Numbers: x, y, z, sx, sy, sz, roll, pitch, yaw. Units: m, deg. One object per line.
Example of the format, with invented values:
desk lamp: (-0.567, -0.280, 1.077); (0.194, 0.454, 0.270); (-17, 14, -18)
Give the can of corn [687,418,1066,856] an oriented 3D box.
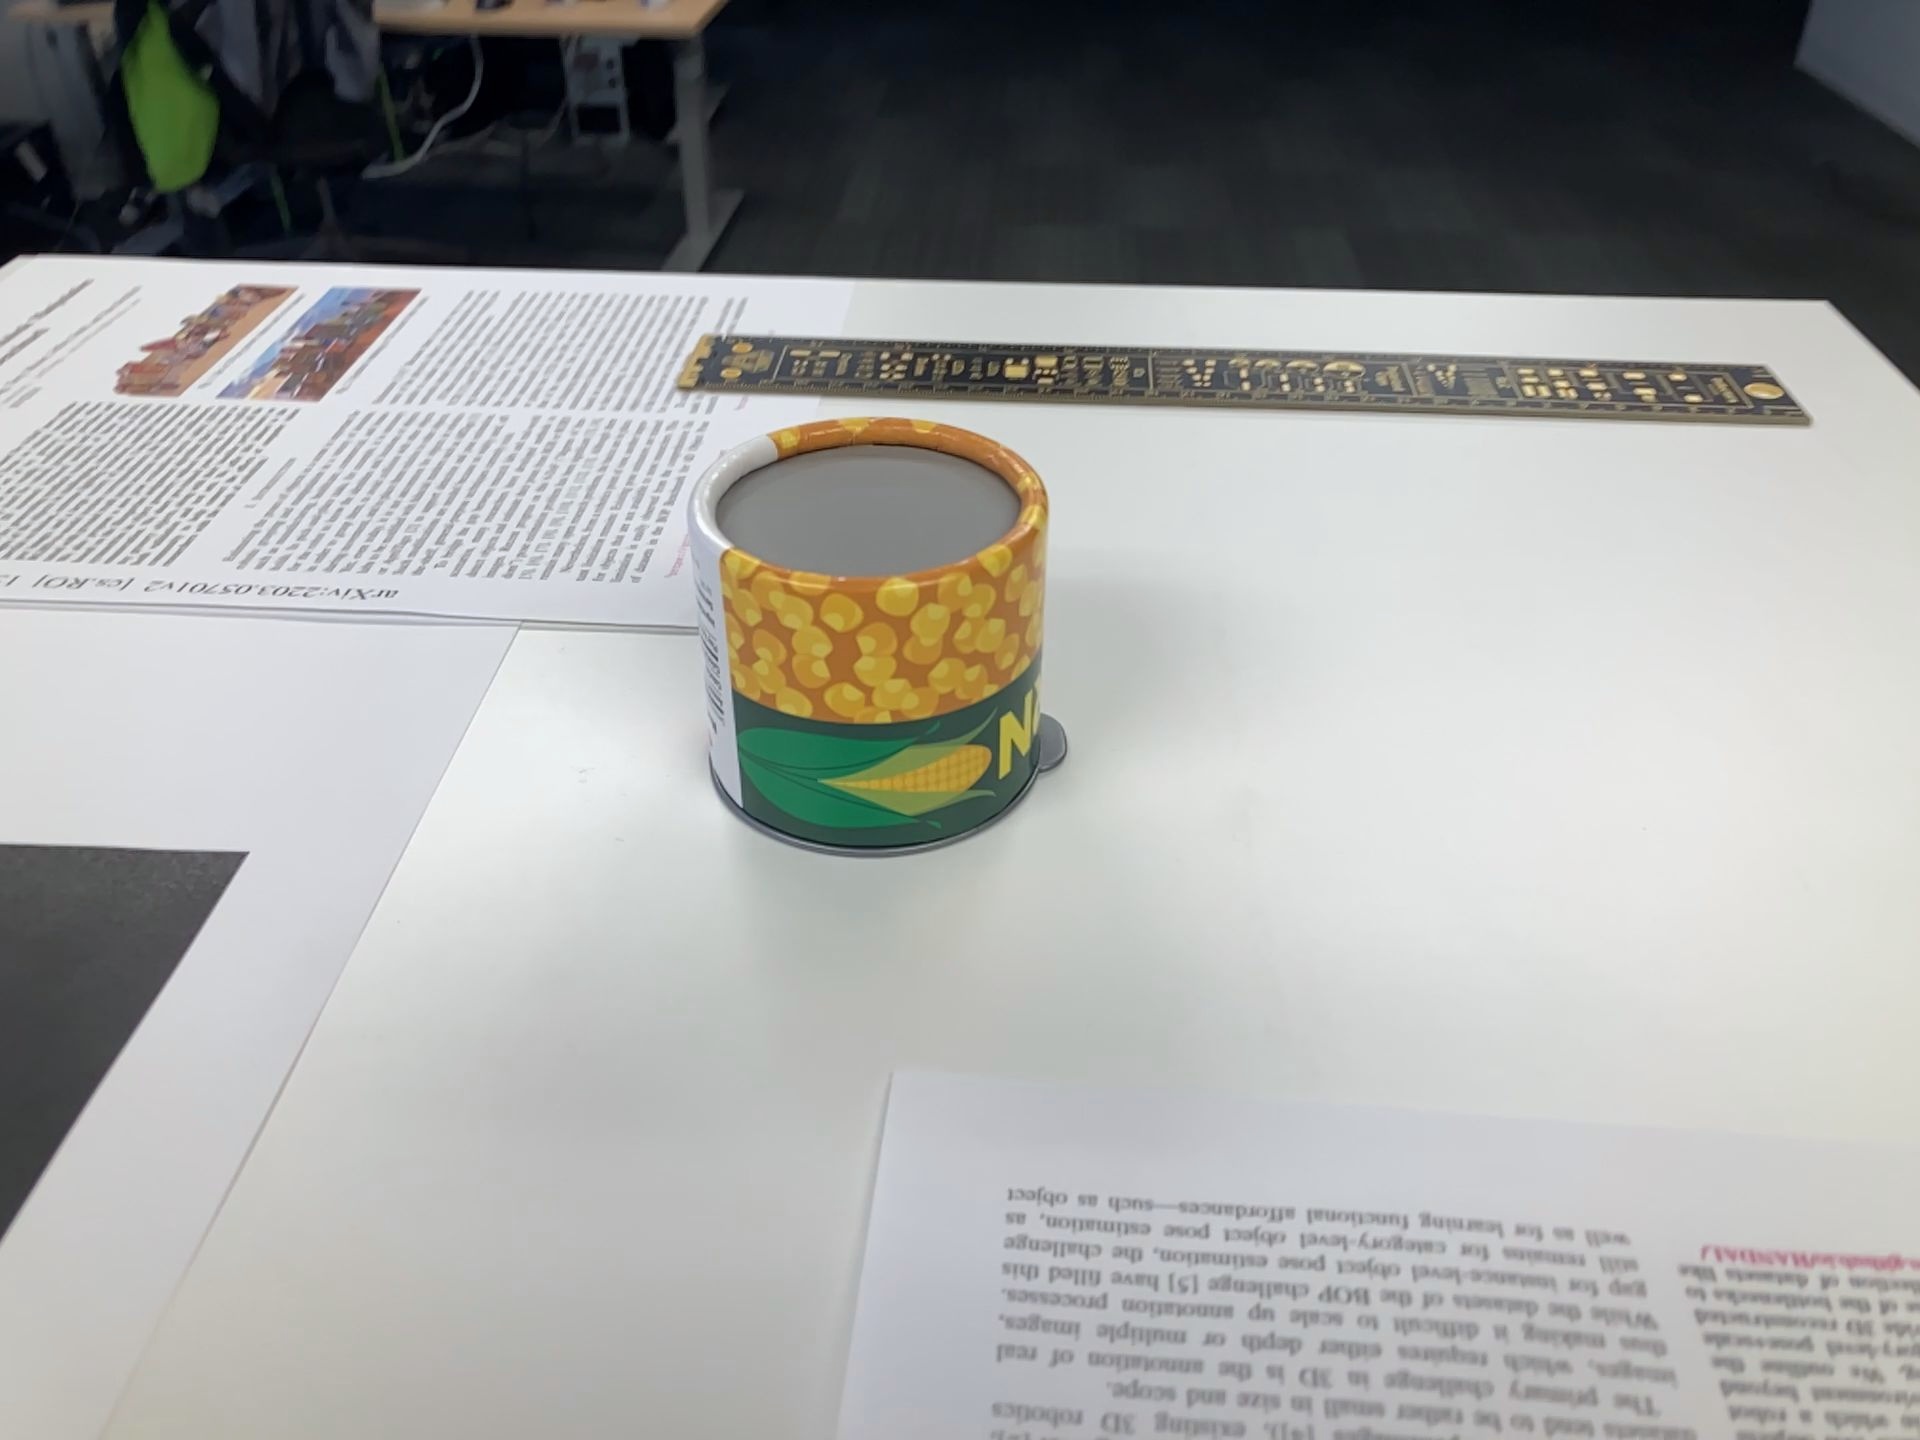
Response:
can of corn: (-0.014, -0.018, 0.302); (0.071, 0.058, 0.071); (0, 35, 0)
